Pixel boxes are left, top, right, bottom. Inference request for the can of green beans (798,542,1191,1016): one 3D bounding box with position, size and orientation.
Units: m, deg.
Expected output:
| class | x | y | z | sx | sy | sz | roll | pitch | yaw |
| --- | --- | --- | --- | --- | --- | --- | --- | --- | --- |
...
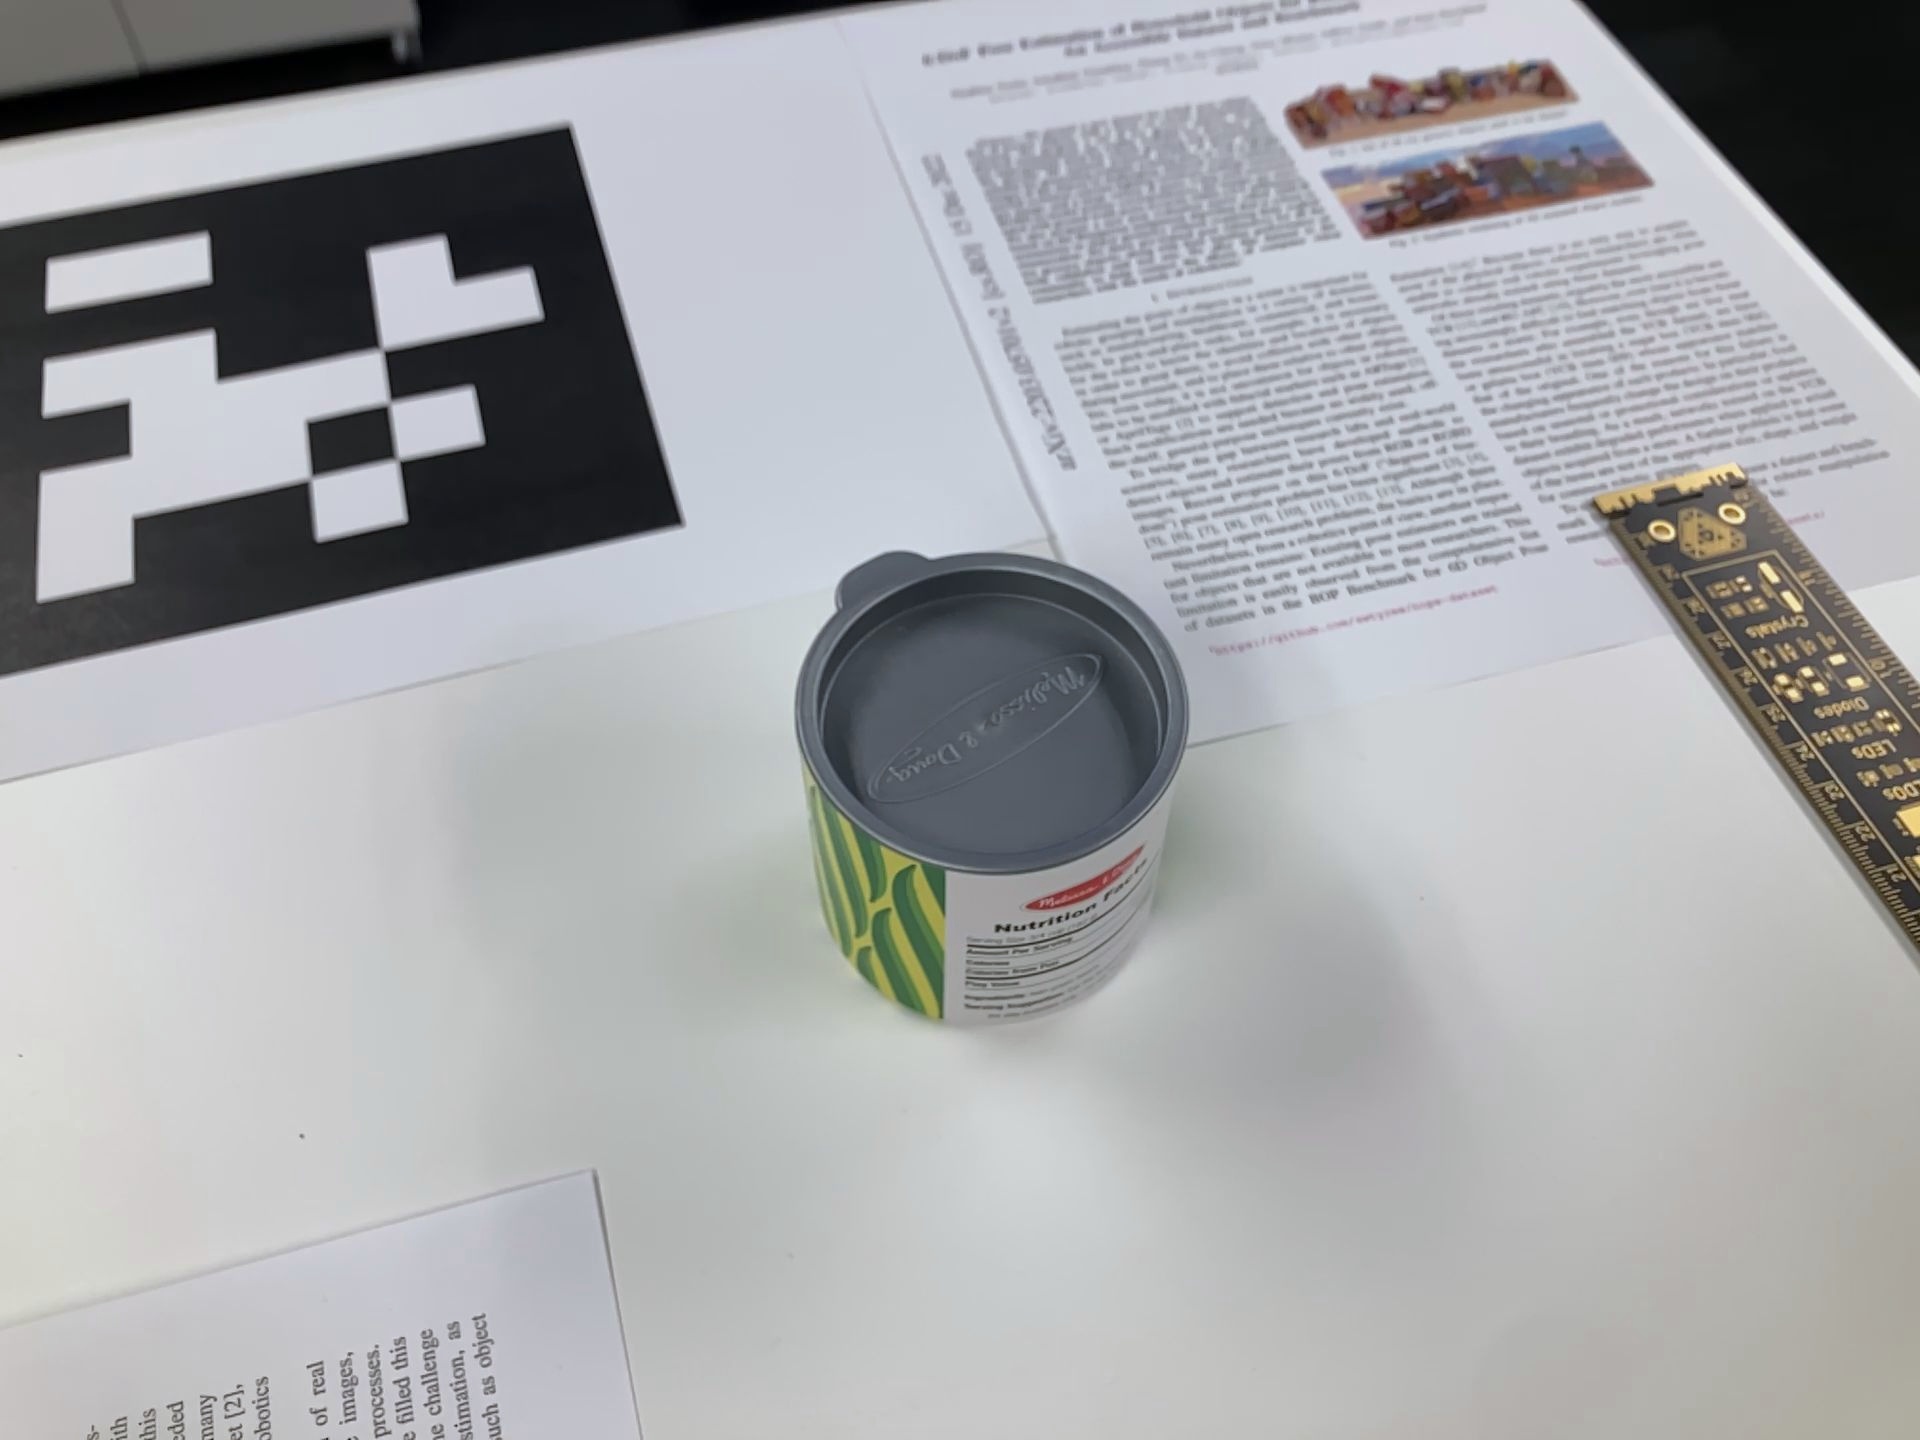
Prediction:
| class | x | y | z | sx | sy | sz | roll | pitch | yaw |
| --- | --- | --- | --- | --- | --- | --- | --- | --- | --- |
| can of green beans | 0.005 | 0.012 | 0.292 | 0.071 | 0.058 | 0.071 | 0 | 54 | -1 |
